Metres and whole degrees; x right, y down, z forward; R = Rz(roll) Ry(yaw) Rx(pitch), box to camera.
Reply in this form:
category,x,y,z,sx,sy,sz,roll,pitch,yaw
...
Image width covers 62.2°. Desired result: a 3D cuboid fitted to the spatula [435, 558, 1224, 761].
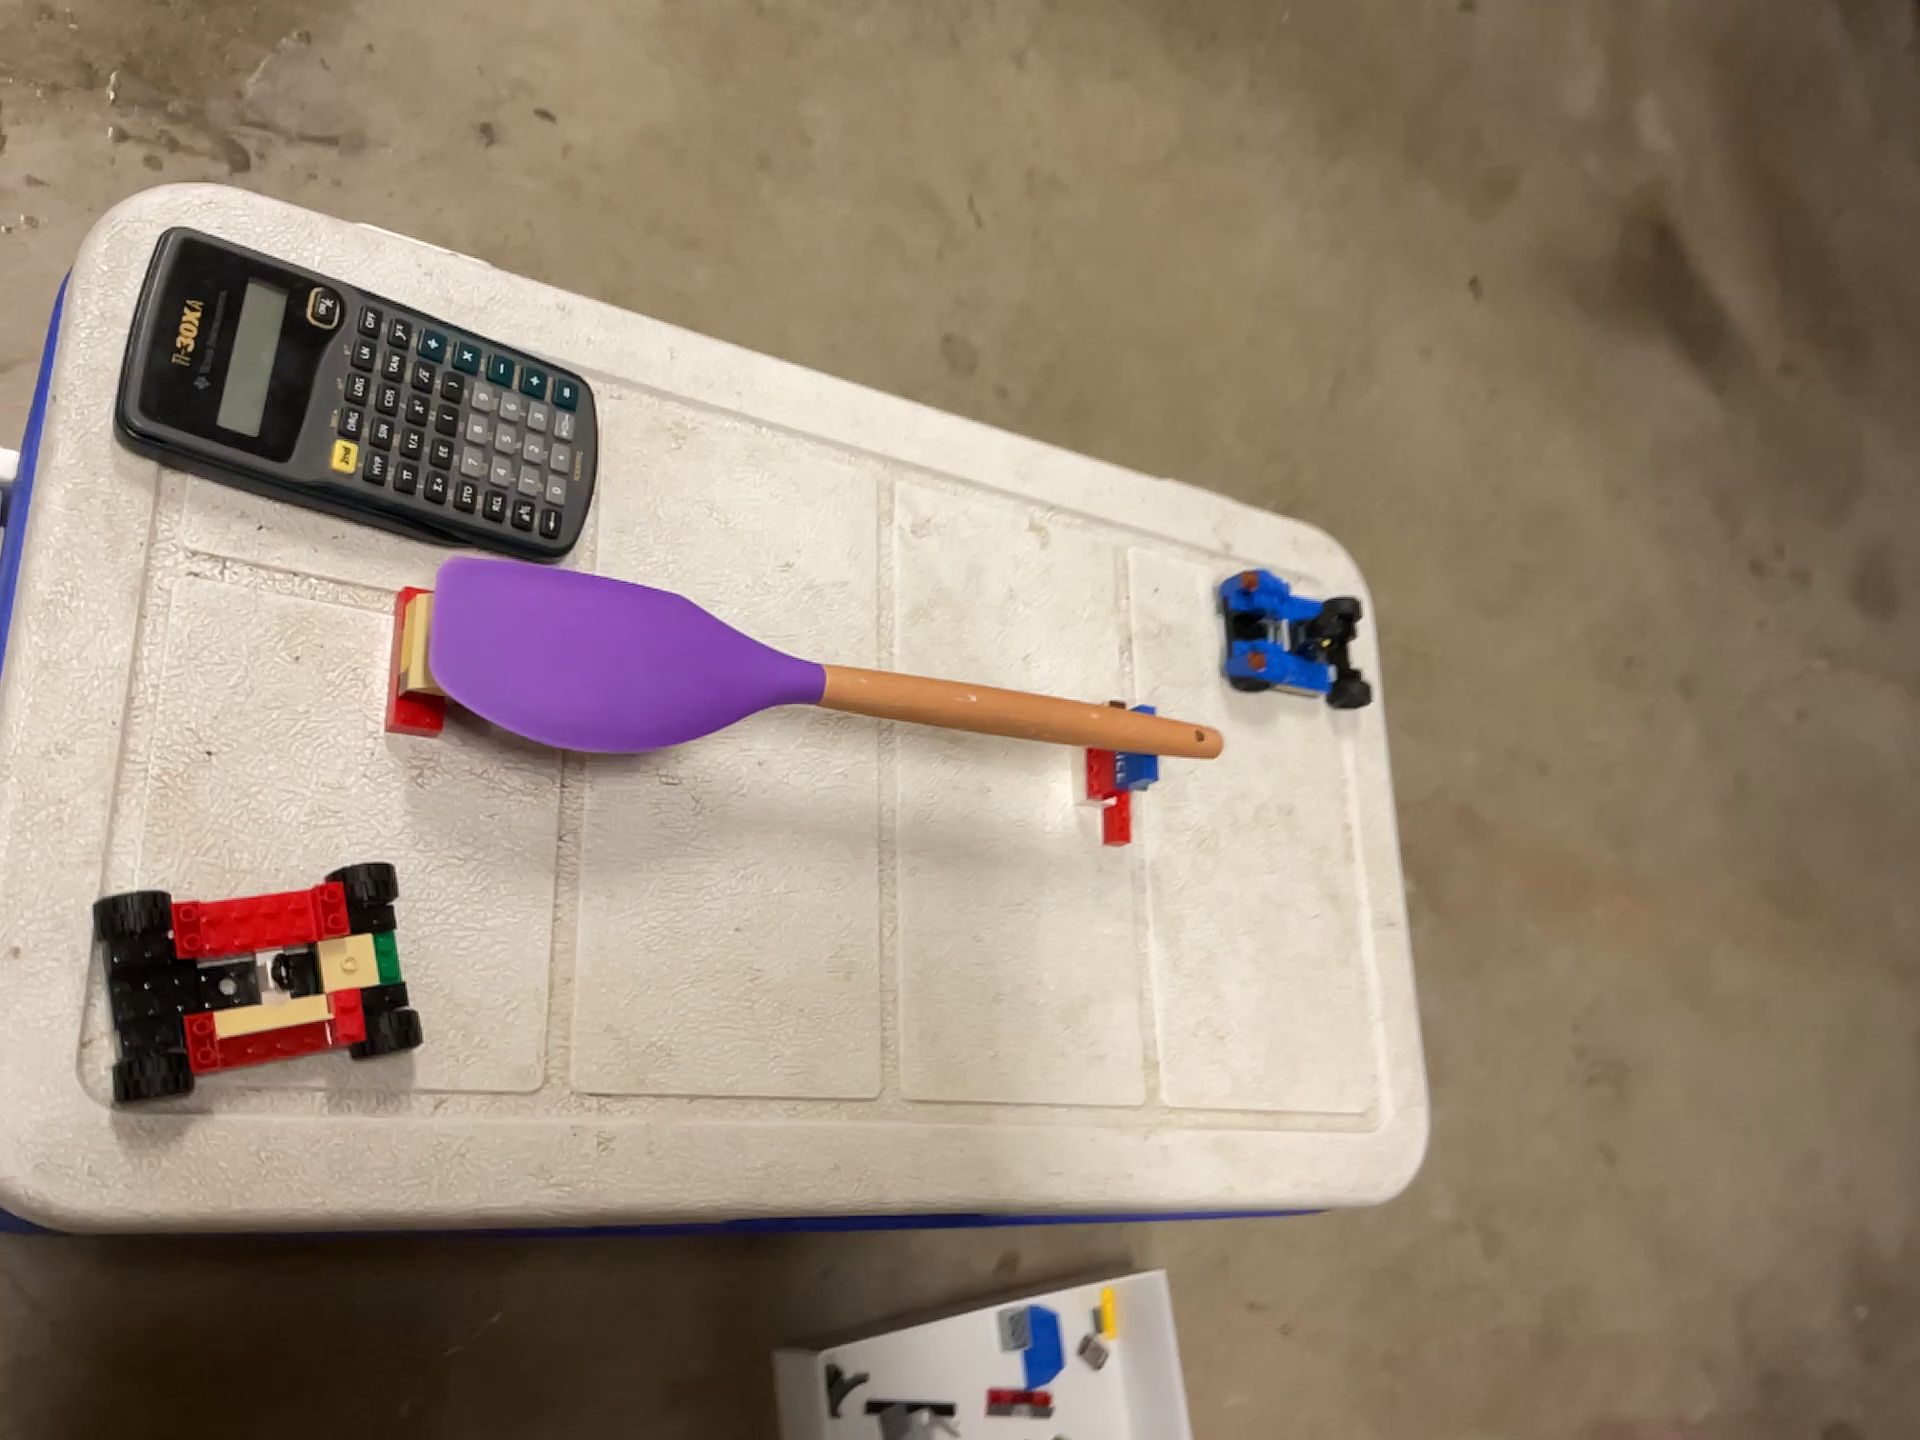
category,x,y,z,sx,sy,sz,roll,pitch,yaw
spatula,-0.028,-0.007,0.572,0.316,0.018,0.060,8,70,-32
